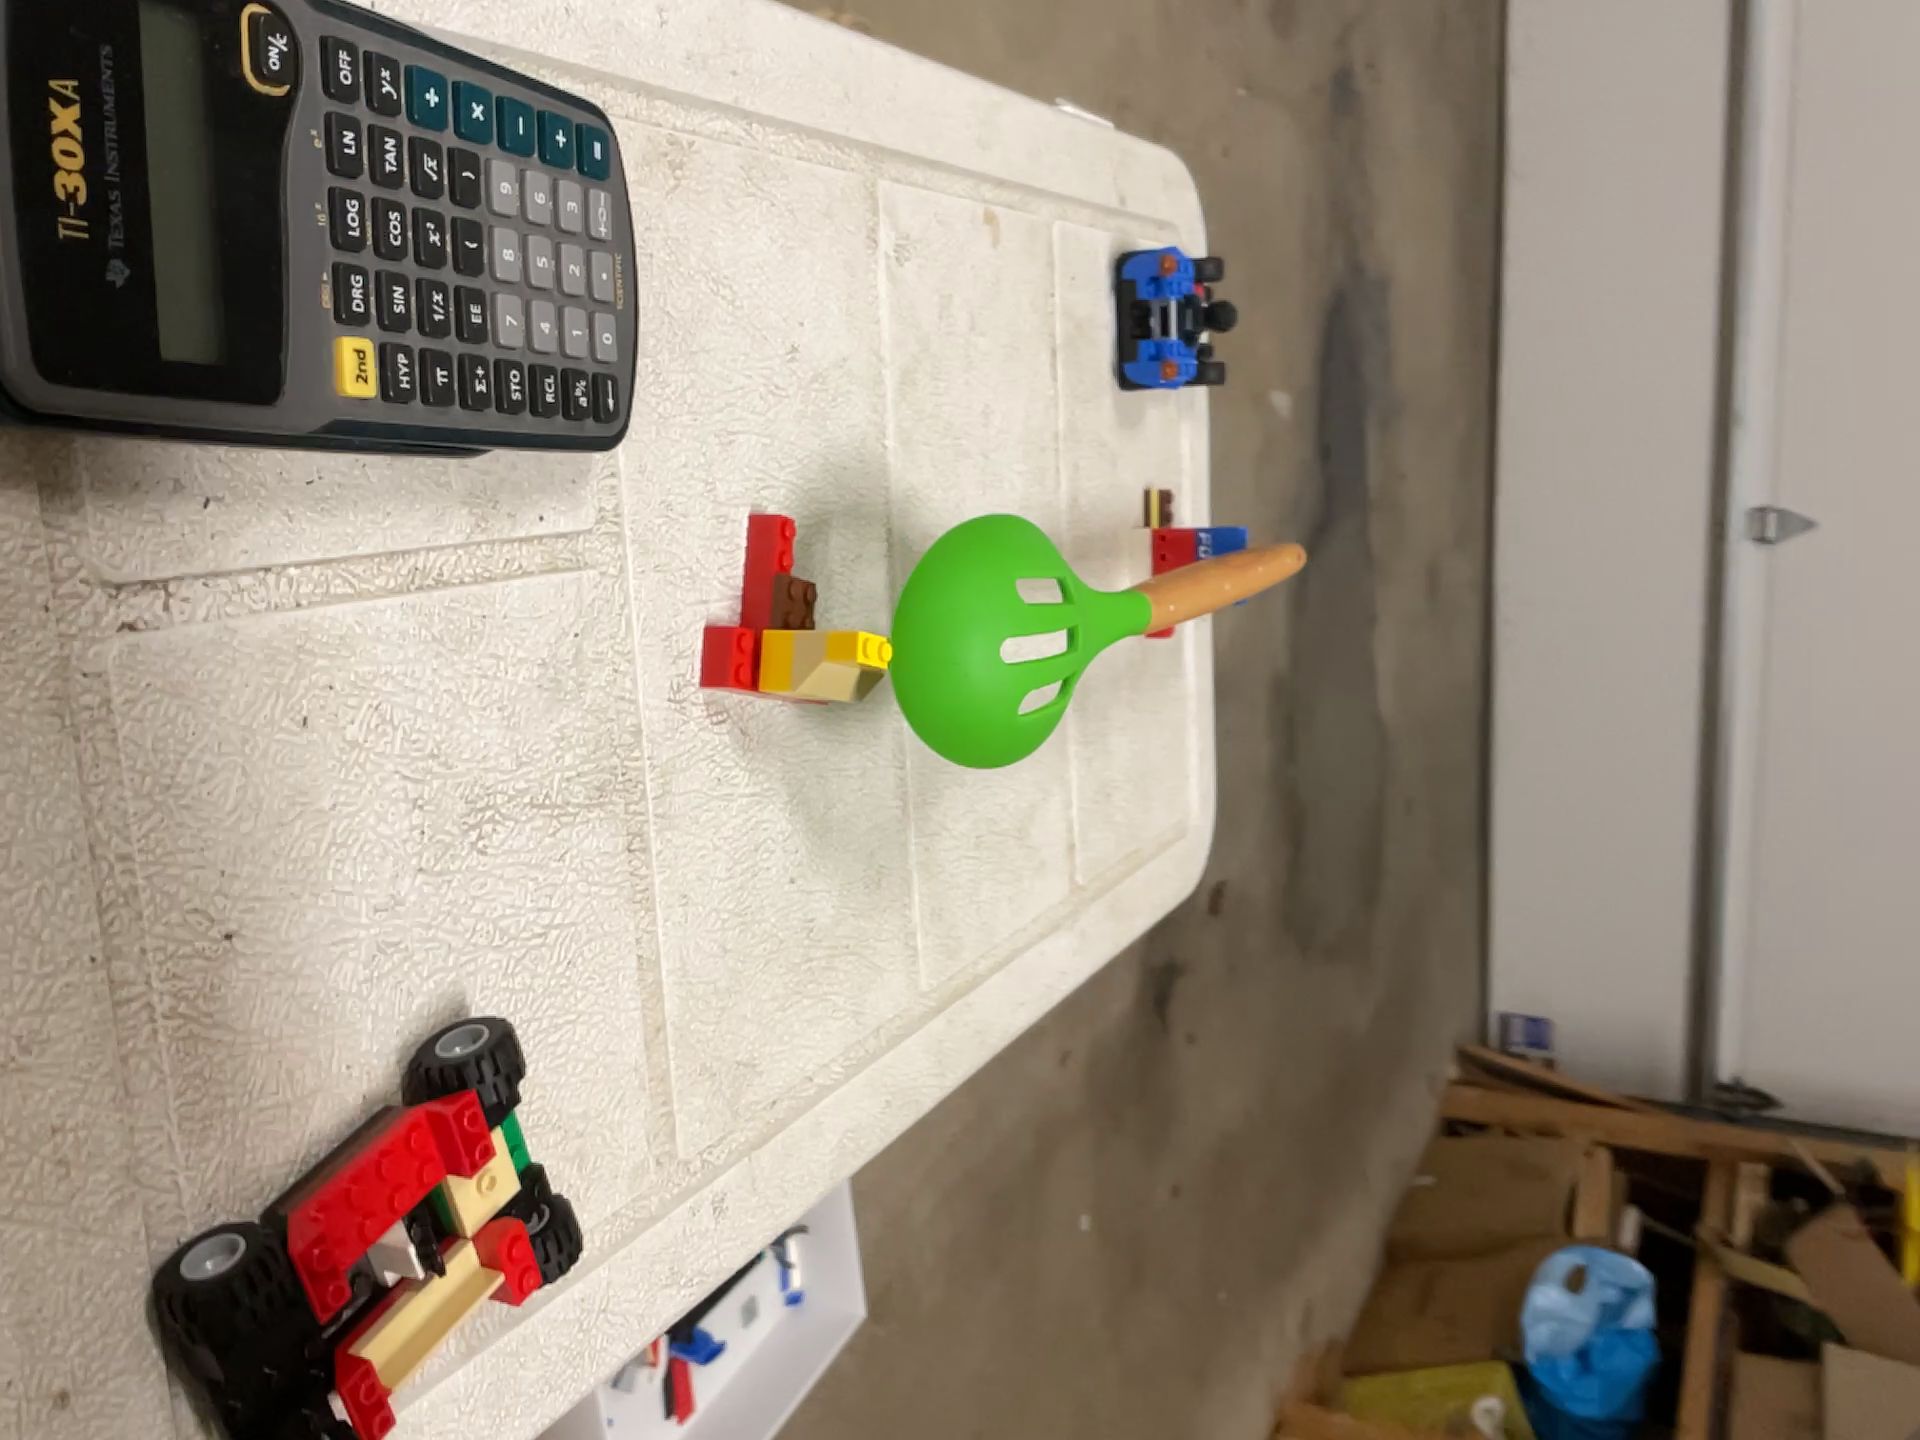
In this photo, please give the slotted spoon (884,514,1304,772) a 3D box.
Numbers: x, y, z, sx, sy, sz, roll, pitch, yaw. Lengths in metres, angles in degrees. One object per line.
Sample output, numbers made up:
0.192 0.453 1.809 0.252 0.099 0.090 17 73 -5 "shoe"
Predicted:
0.067 -0.042 0.537 0.314 0.031 0.070 -21 110 -60 "slotted spoon"
